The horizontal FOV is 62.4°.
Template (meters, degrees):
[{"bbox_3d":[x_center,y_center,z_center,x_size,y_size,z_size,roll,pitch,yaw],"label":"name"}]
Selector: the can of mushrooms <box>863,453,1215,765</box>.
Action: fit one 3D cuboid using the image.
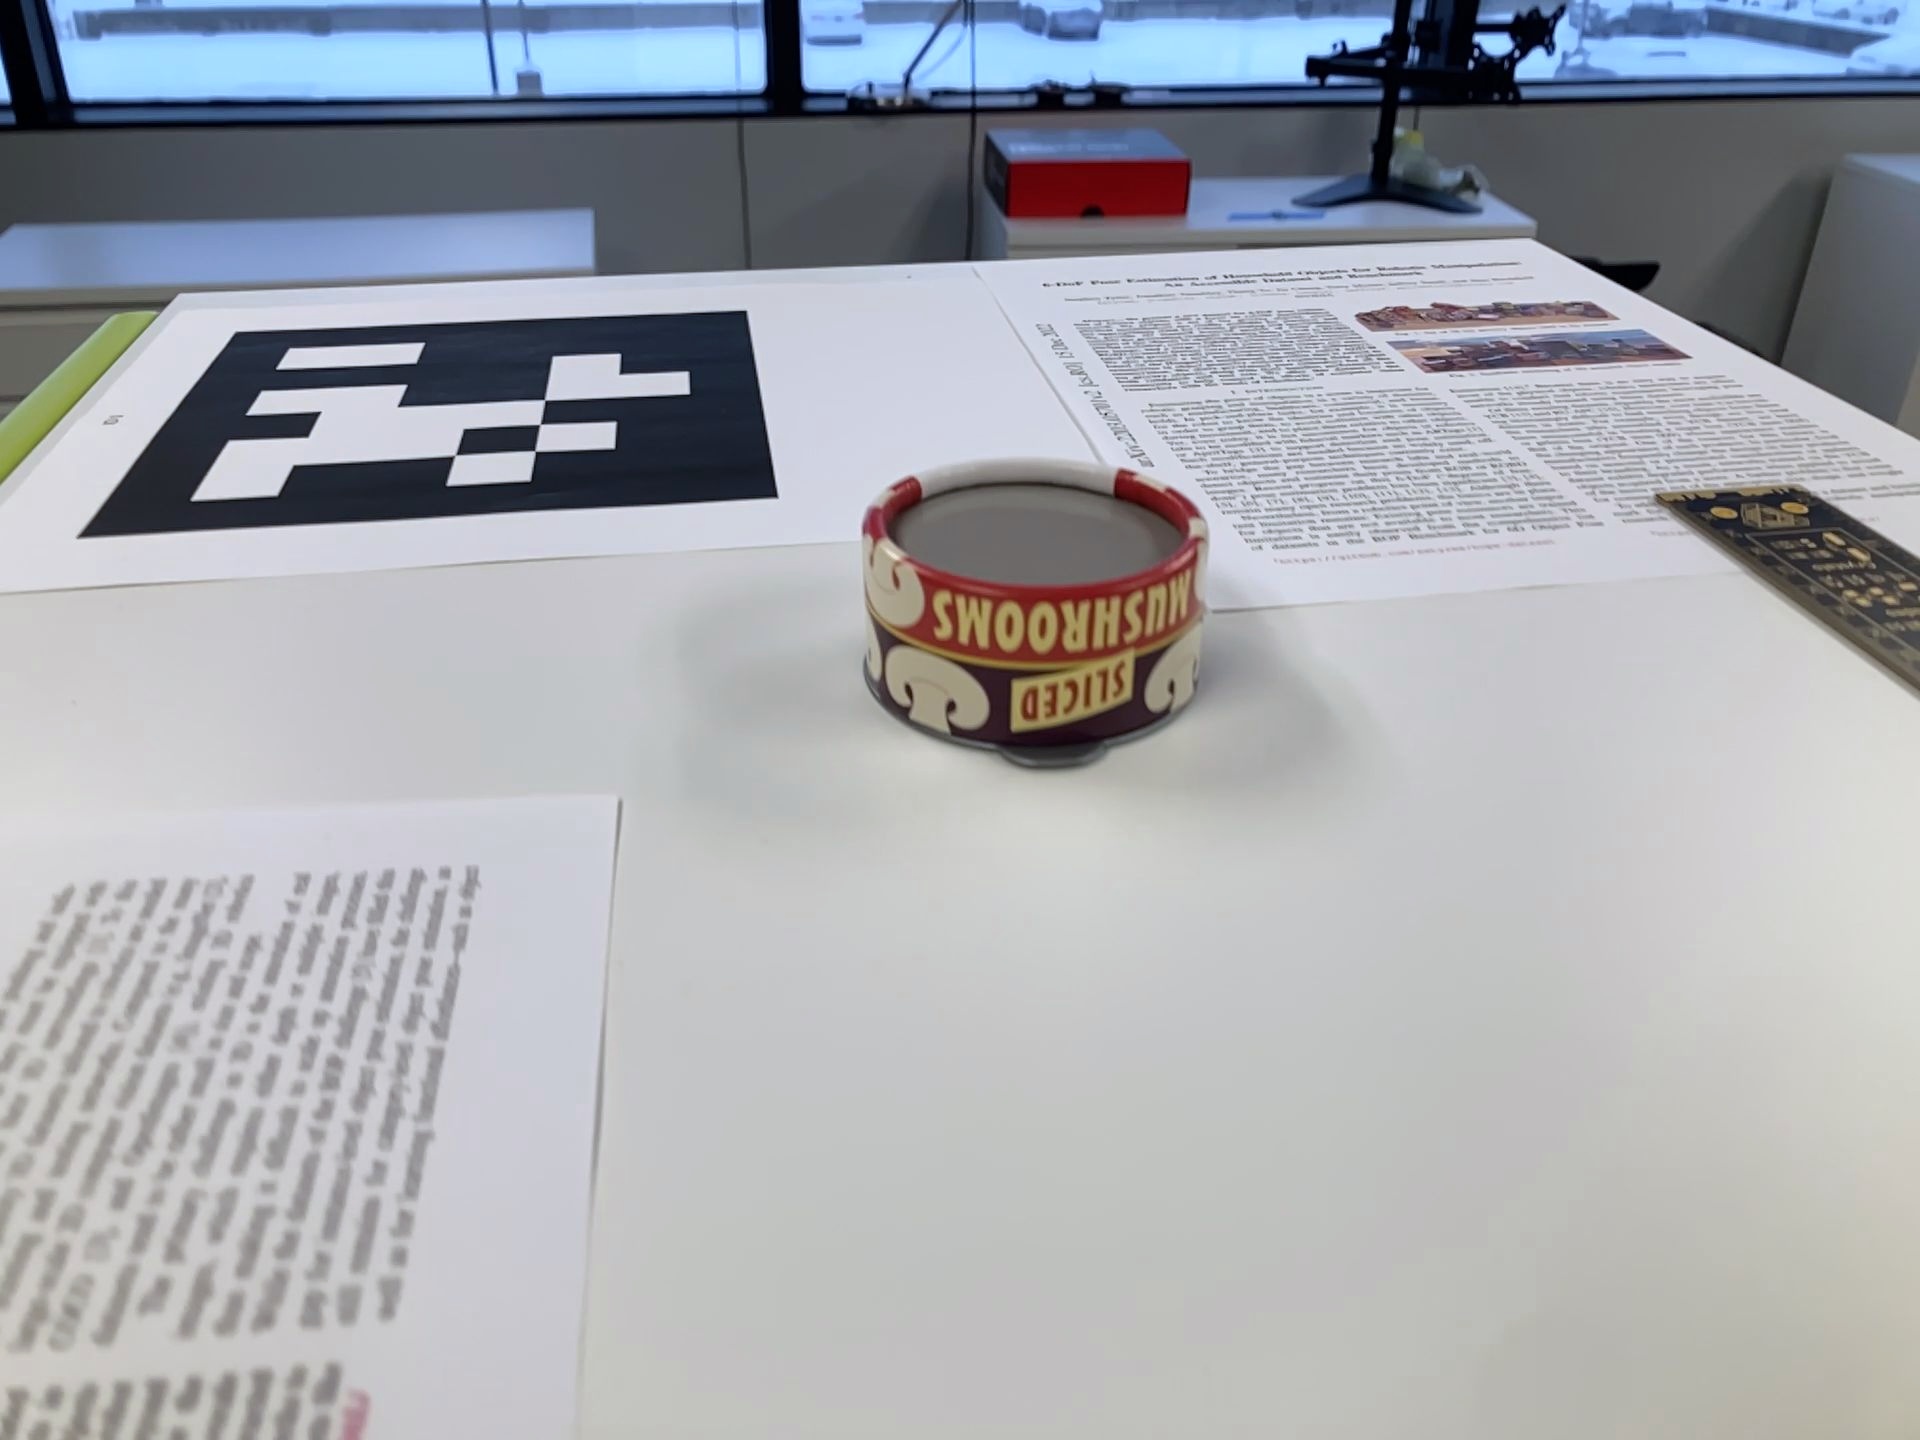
[{"bbox_3d":[0.015,-0.023,0.300,0.071,0.033,0.071,1,31,-1],"label":"can of mushrooms"}]
